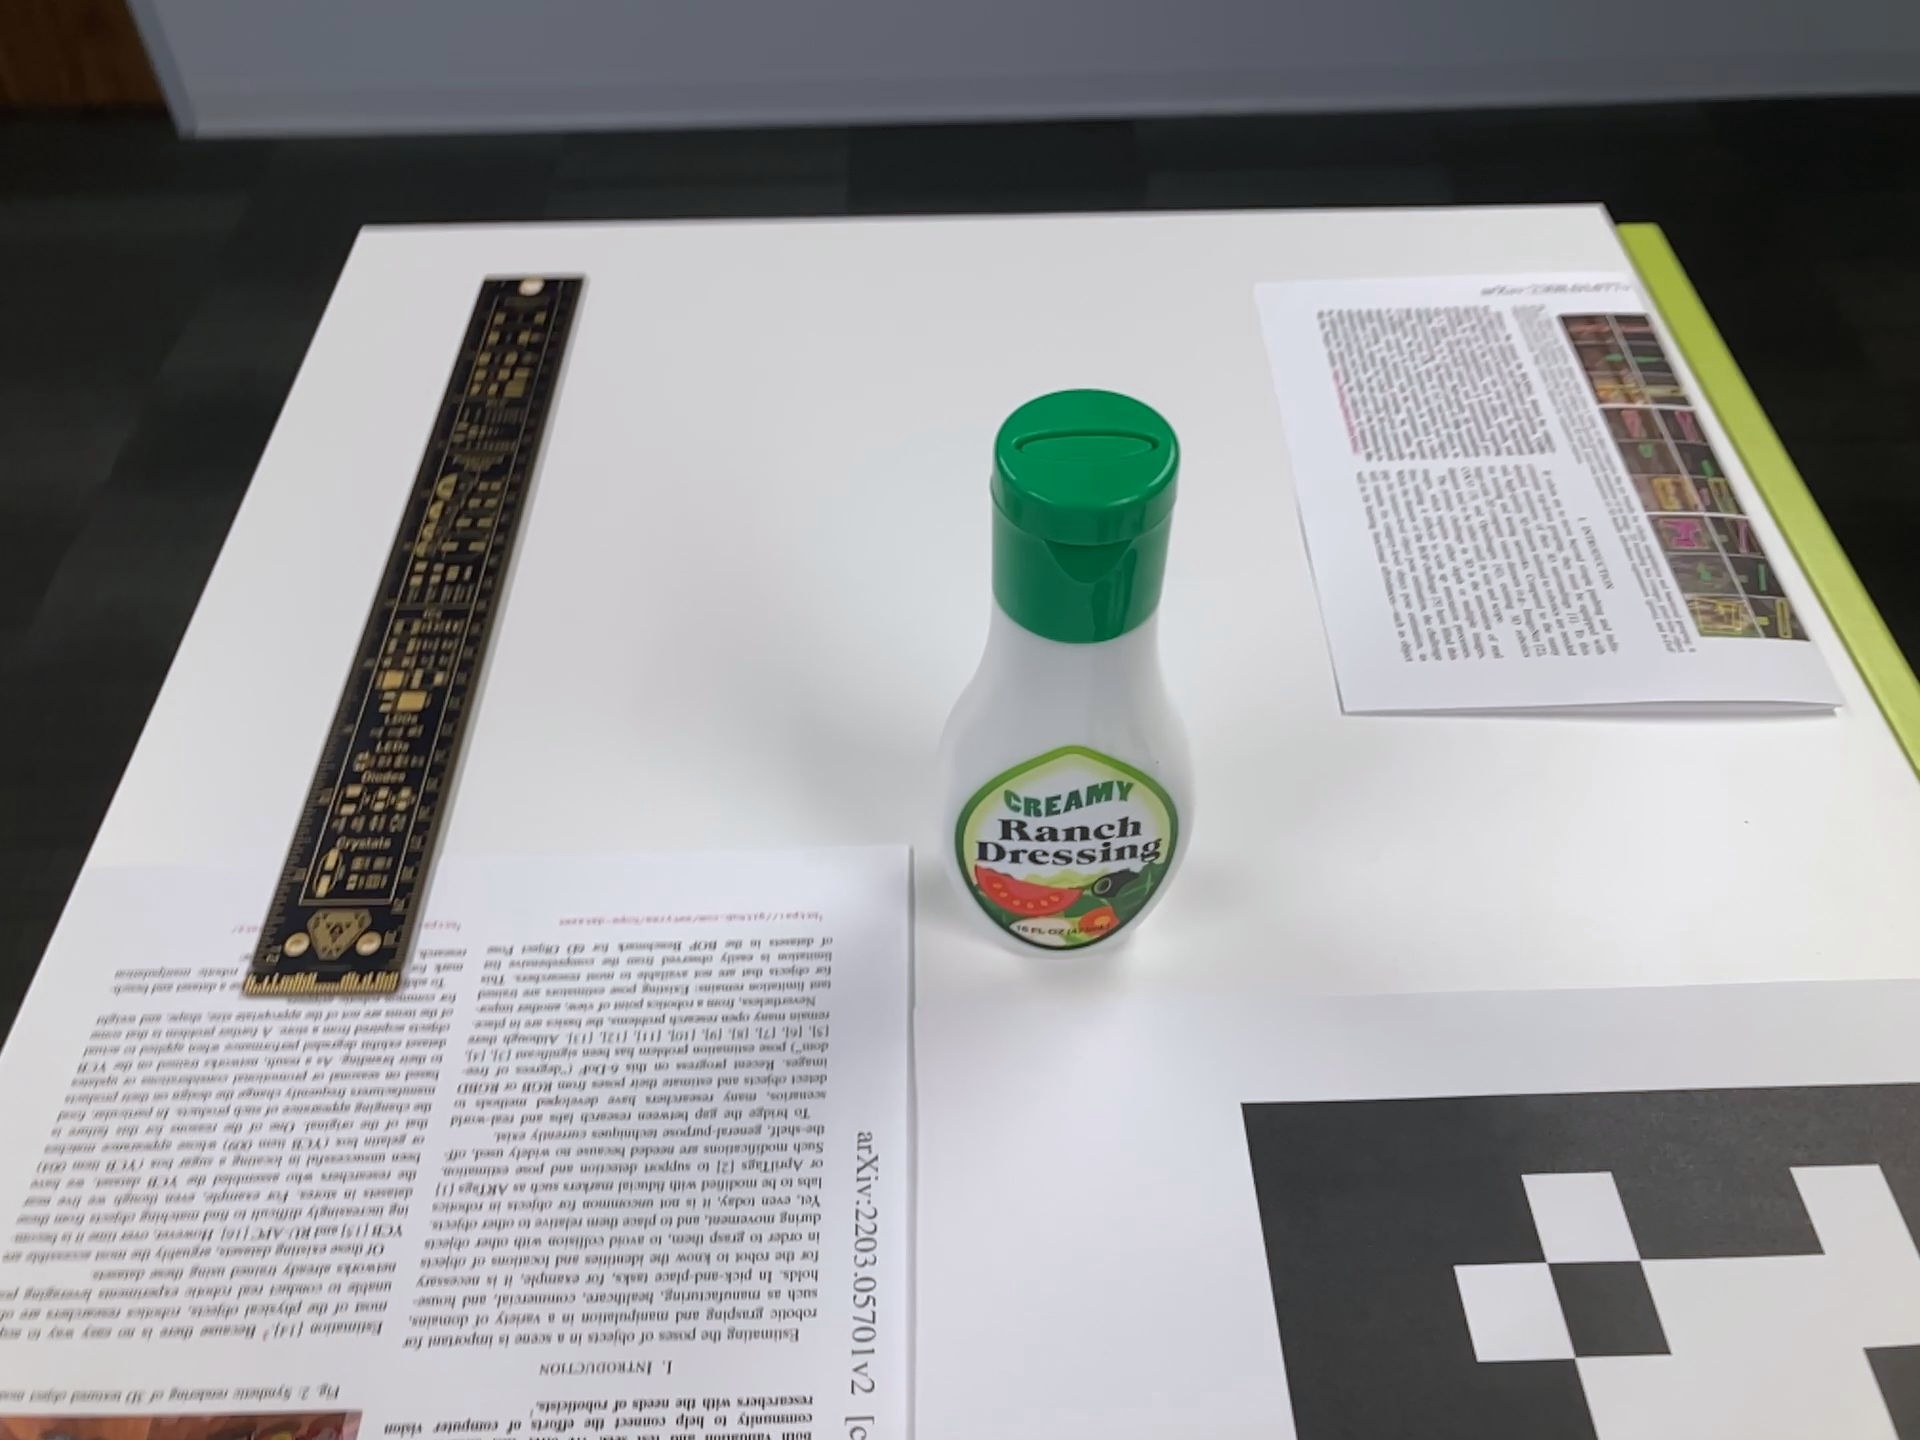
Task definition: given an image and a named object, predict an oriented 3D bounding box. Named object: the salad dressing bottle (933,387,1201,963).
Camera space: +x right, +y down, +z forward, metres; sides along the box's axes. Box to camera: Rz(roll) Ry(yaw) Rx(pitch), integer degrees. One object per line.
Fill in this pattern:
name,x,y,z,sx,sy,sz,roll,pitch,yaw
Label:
salad dressing bottle,0.025,-0.004,0.357,0.064,0.147,0.044,-1,47,0
